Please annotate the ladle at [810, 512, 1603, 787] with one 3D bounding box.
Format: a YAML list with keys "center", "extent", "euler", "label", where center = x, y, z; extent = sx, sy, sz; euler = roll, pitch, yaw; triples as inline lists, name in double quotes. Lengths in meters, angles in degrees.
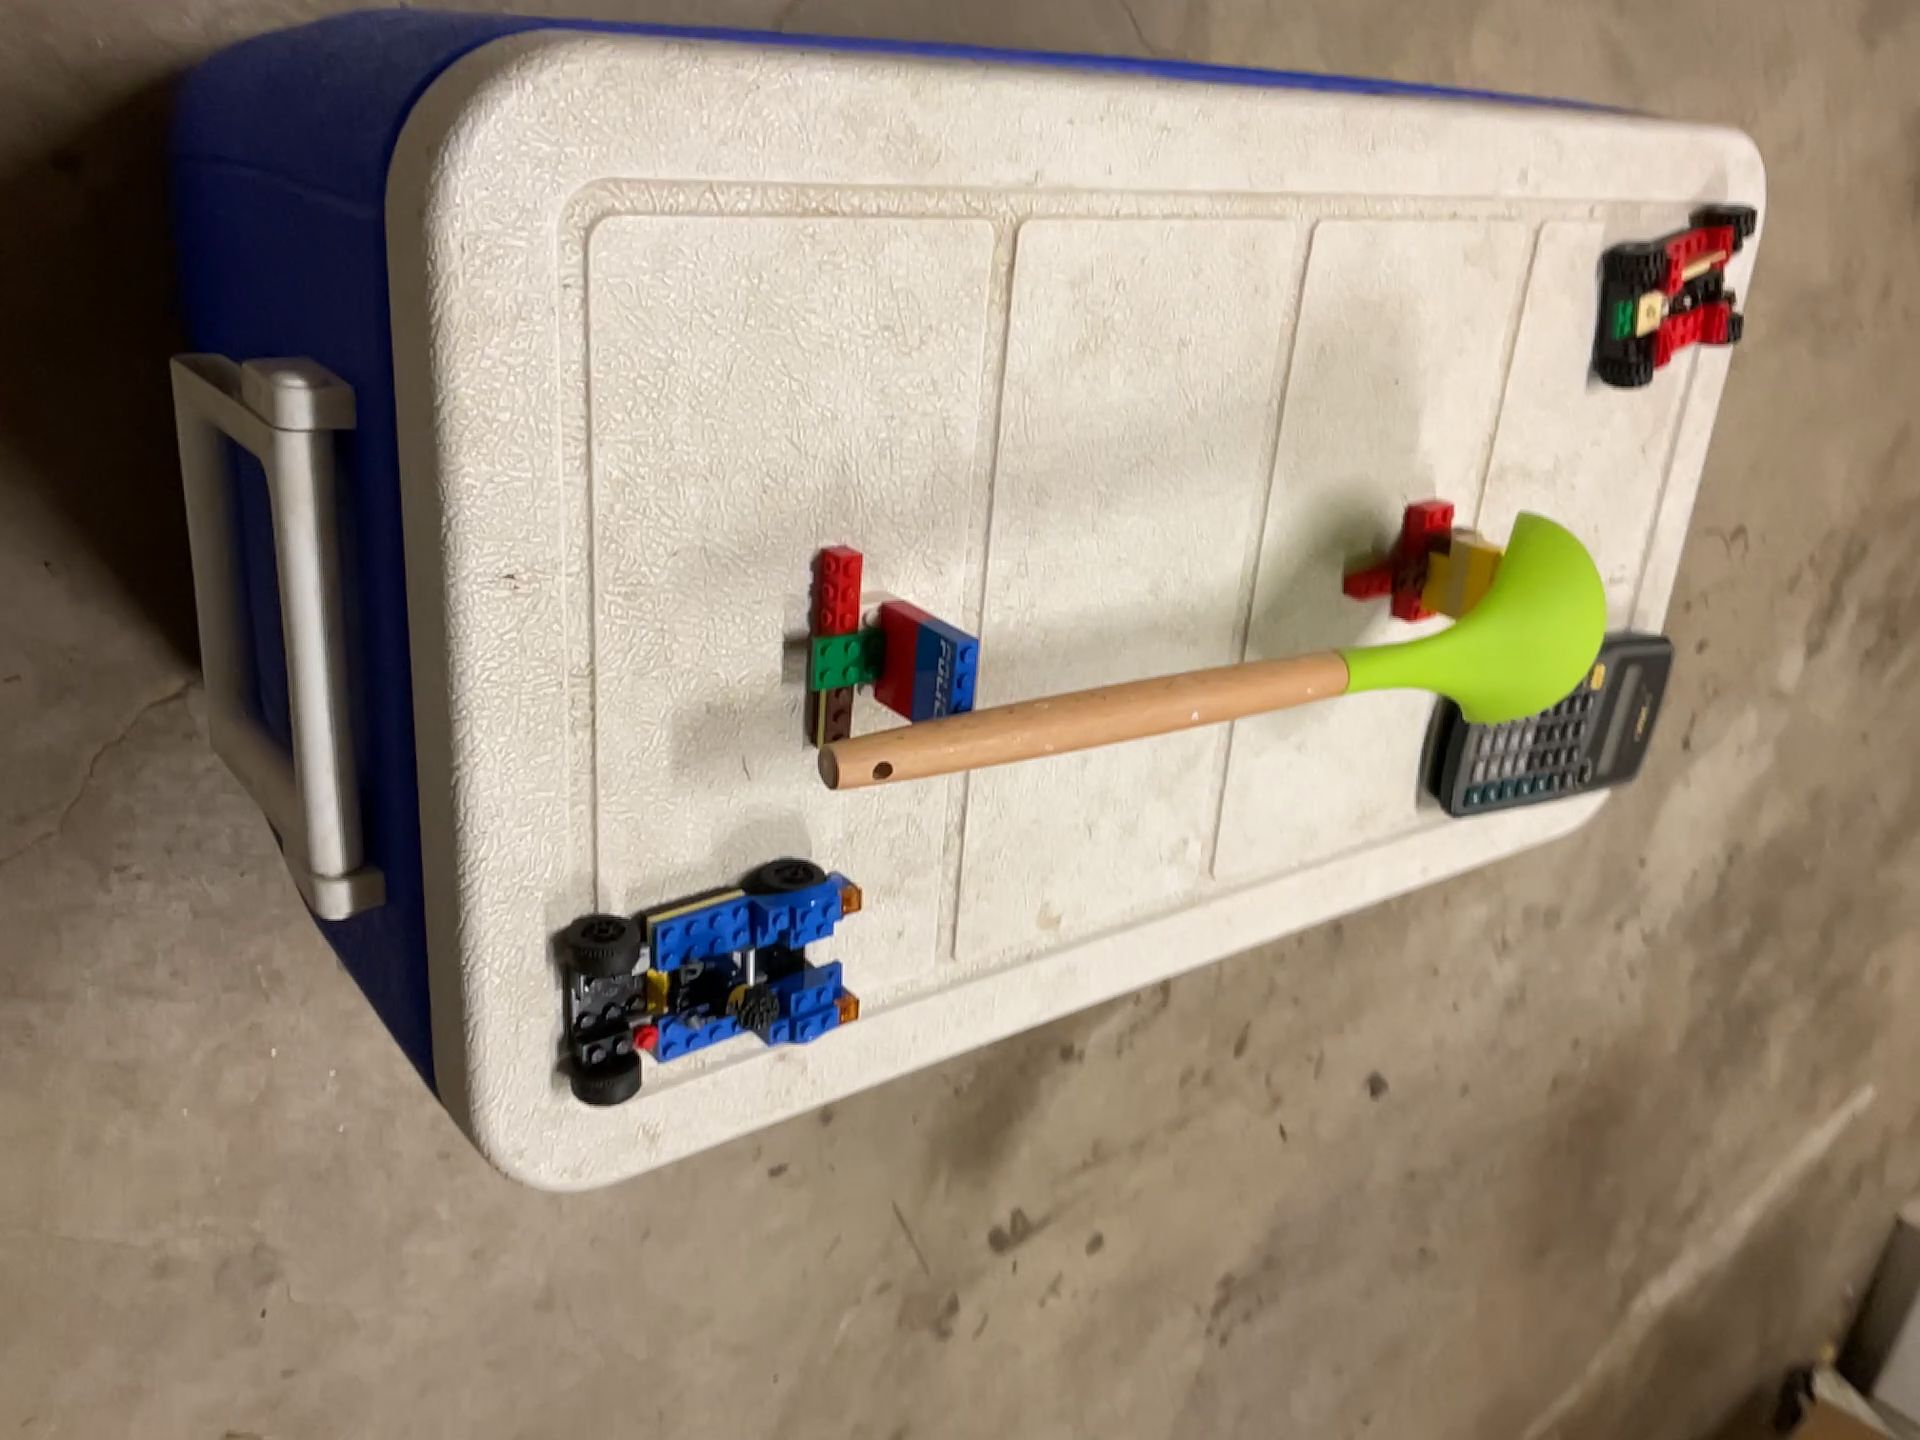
- center: [0.093, -0.017, 0.519]
  extent: [0.320, 0.062, 0.078]
  euler: [-10, 123, -29]
  label: "ladle"
